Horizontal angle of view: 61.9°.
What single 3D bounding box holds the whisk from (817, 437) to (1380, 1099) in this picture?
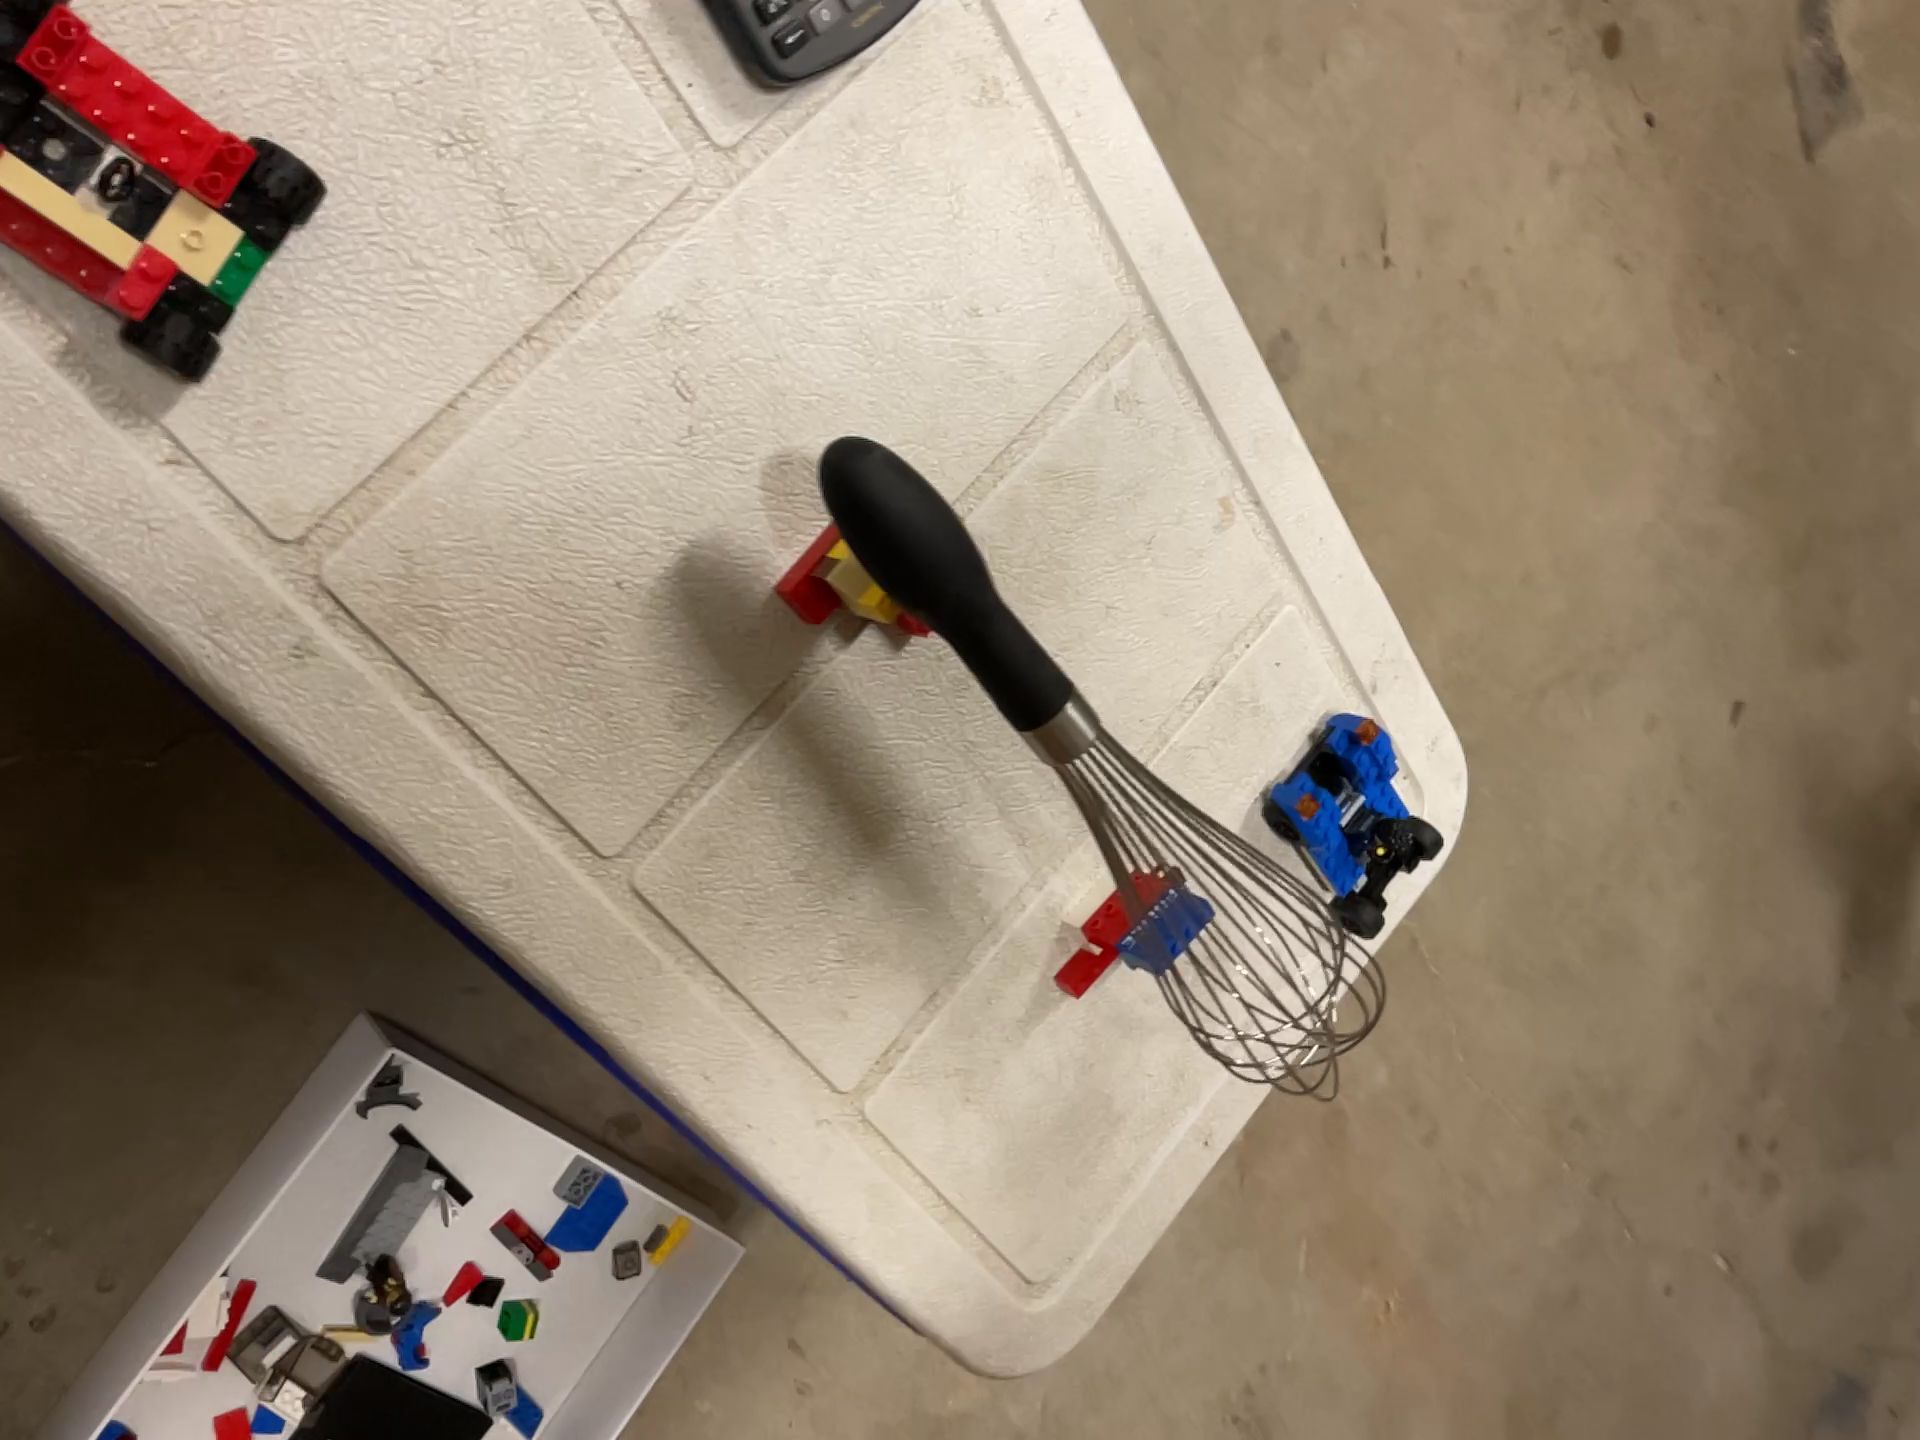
[{"bbox_3d":[0.048,0.023,0.495,0.070,0.070,0.284,-47,118,-11],"label":"whisk"}]
